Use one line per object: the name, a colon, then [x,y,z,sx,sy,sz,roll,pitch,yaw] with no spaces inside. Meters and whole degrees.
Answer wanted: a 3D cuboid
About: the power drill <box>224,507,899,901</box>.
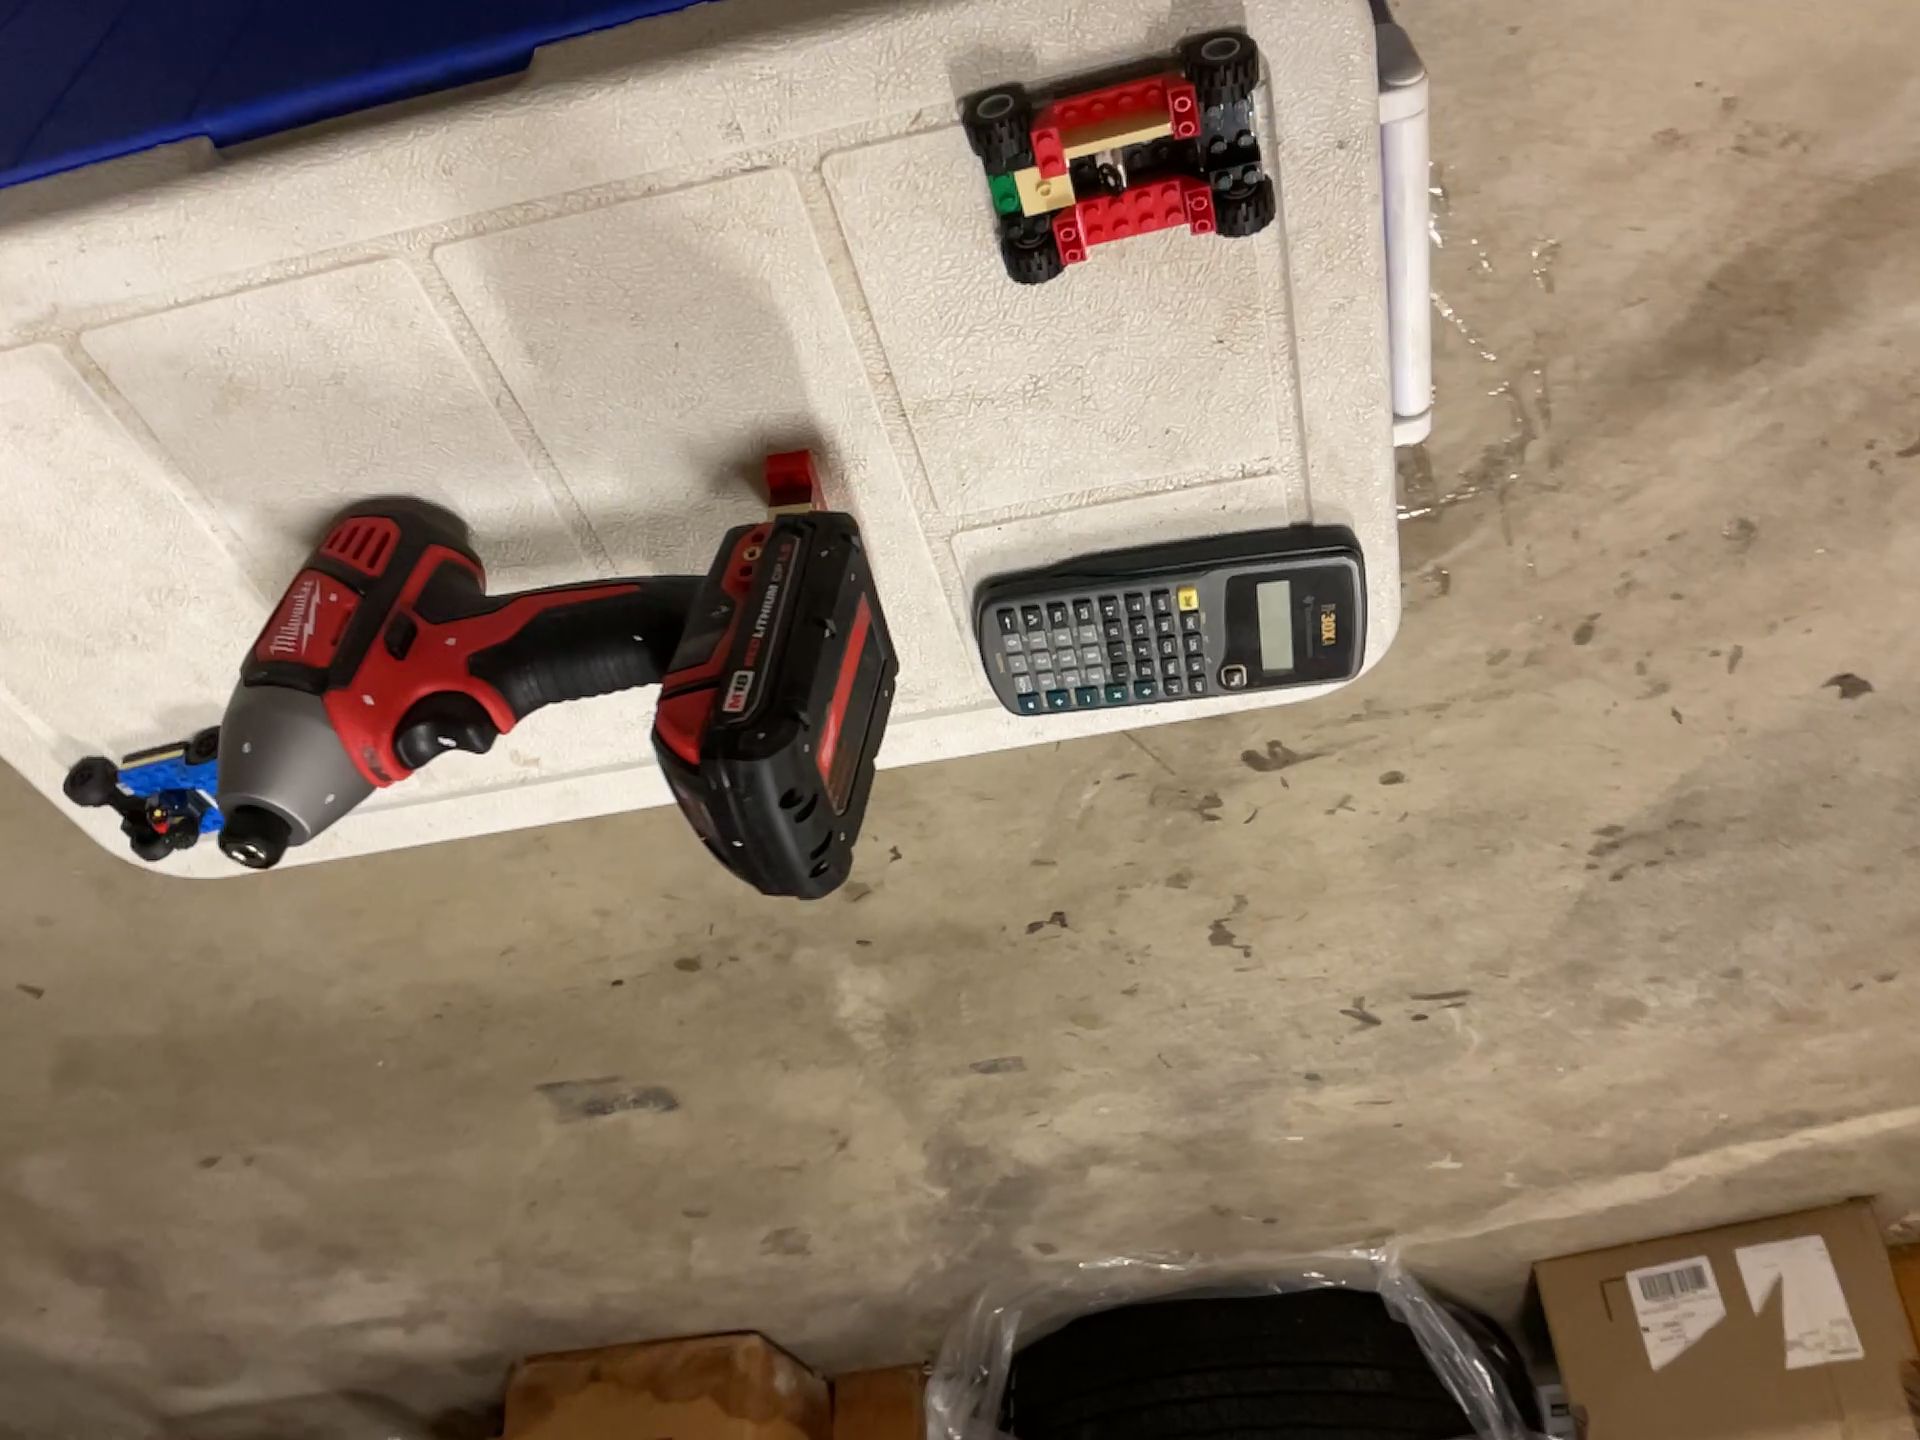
power drill: [-0.143,-0.006,0.549,0.219,0.143,0.078,4,142,15]
